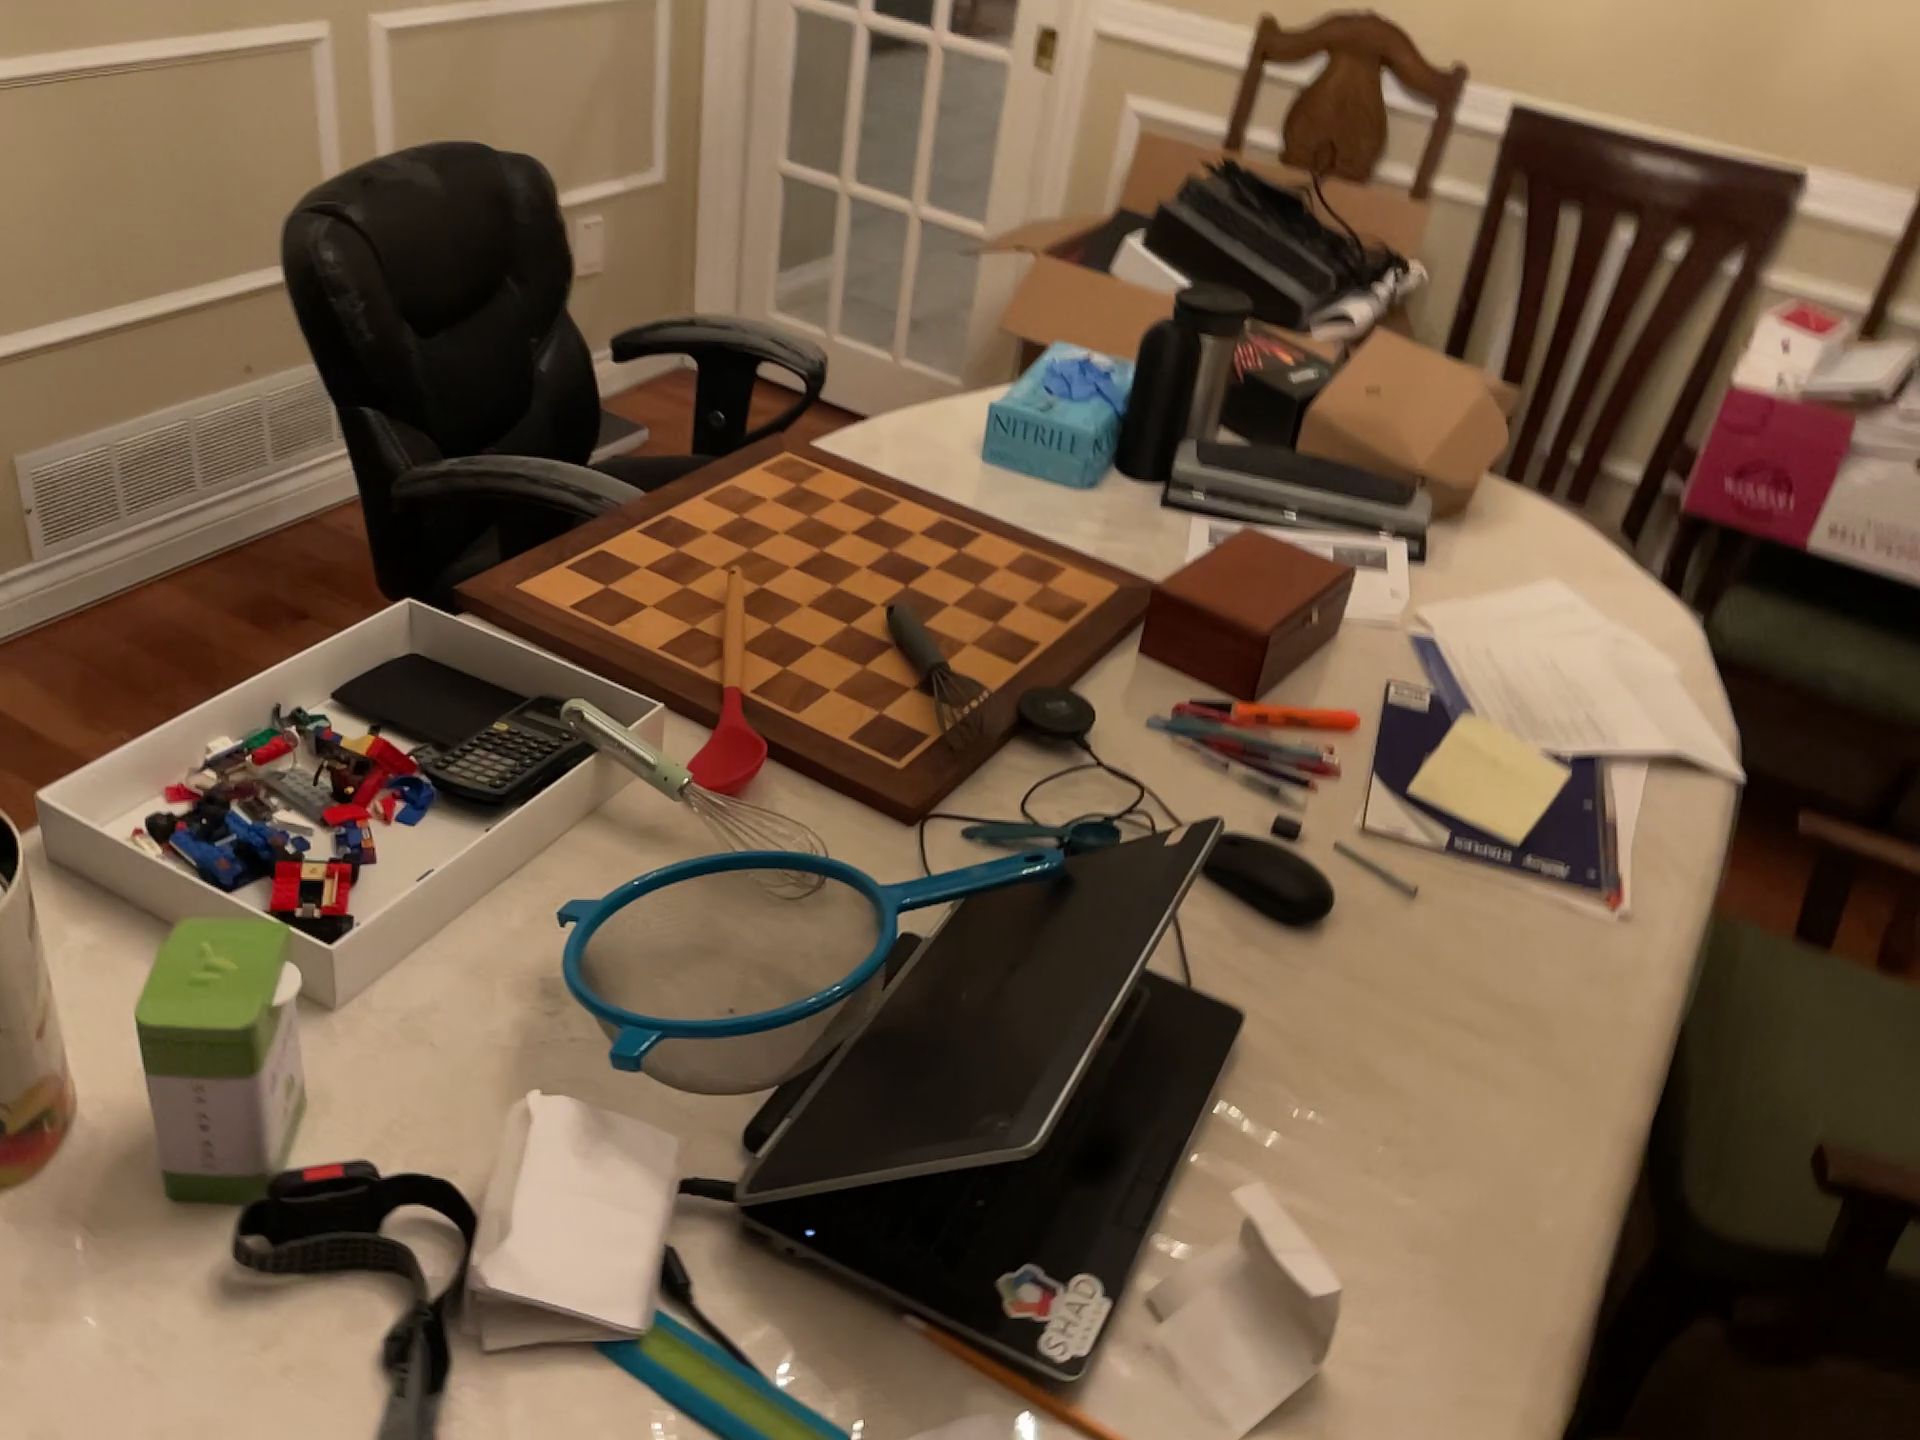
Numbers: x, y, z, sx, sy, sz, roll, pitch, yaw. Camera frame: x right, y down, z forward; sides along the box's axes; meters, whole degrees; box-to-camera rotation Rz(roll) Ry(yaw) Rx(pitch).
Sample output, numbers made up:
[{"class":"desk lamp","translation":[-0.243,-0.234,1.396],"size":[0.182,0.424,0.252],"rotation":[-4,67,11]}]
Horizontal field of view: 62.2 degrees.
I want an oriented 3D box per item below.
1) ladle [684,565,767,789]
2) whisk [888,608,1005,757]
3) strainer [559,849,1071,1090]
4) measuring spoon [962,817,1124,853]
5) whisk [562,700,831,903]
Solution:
[{"class":"ladle","translation":[-0.196,-0.042,1.359],"size":[0.069,0.031,0.316],"rotation":[-14,39,5]},{"class":"whisk","translation":[-0.017,-0.039,1.391],"size":[0.055,0.055,0.239],"rotation":[8,26,-28]},{"class":"strainer","translation":[-0.082,0.160,1.041],"size":[0.340,0.095,0.211],"rotation":[-11,25,-20]},{"class":"measuring spoon","translation":[0.066,0.096,1.258],"size":[0.128,0.021,0.042],"rotation":[-1,25,5]},{"class":"whisk","translation":[-0.197,0.058,1.183],"size":[0.246,0.058,0.059],"rotation":[33,8,10]}]
